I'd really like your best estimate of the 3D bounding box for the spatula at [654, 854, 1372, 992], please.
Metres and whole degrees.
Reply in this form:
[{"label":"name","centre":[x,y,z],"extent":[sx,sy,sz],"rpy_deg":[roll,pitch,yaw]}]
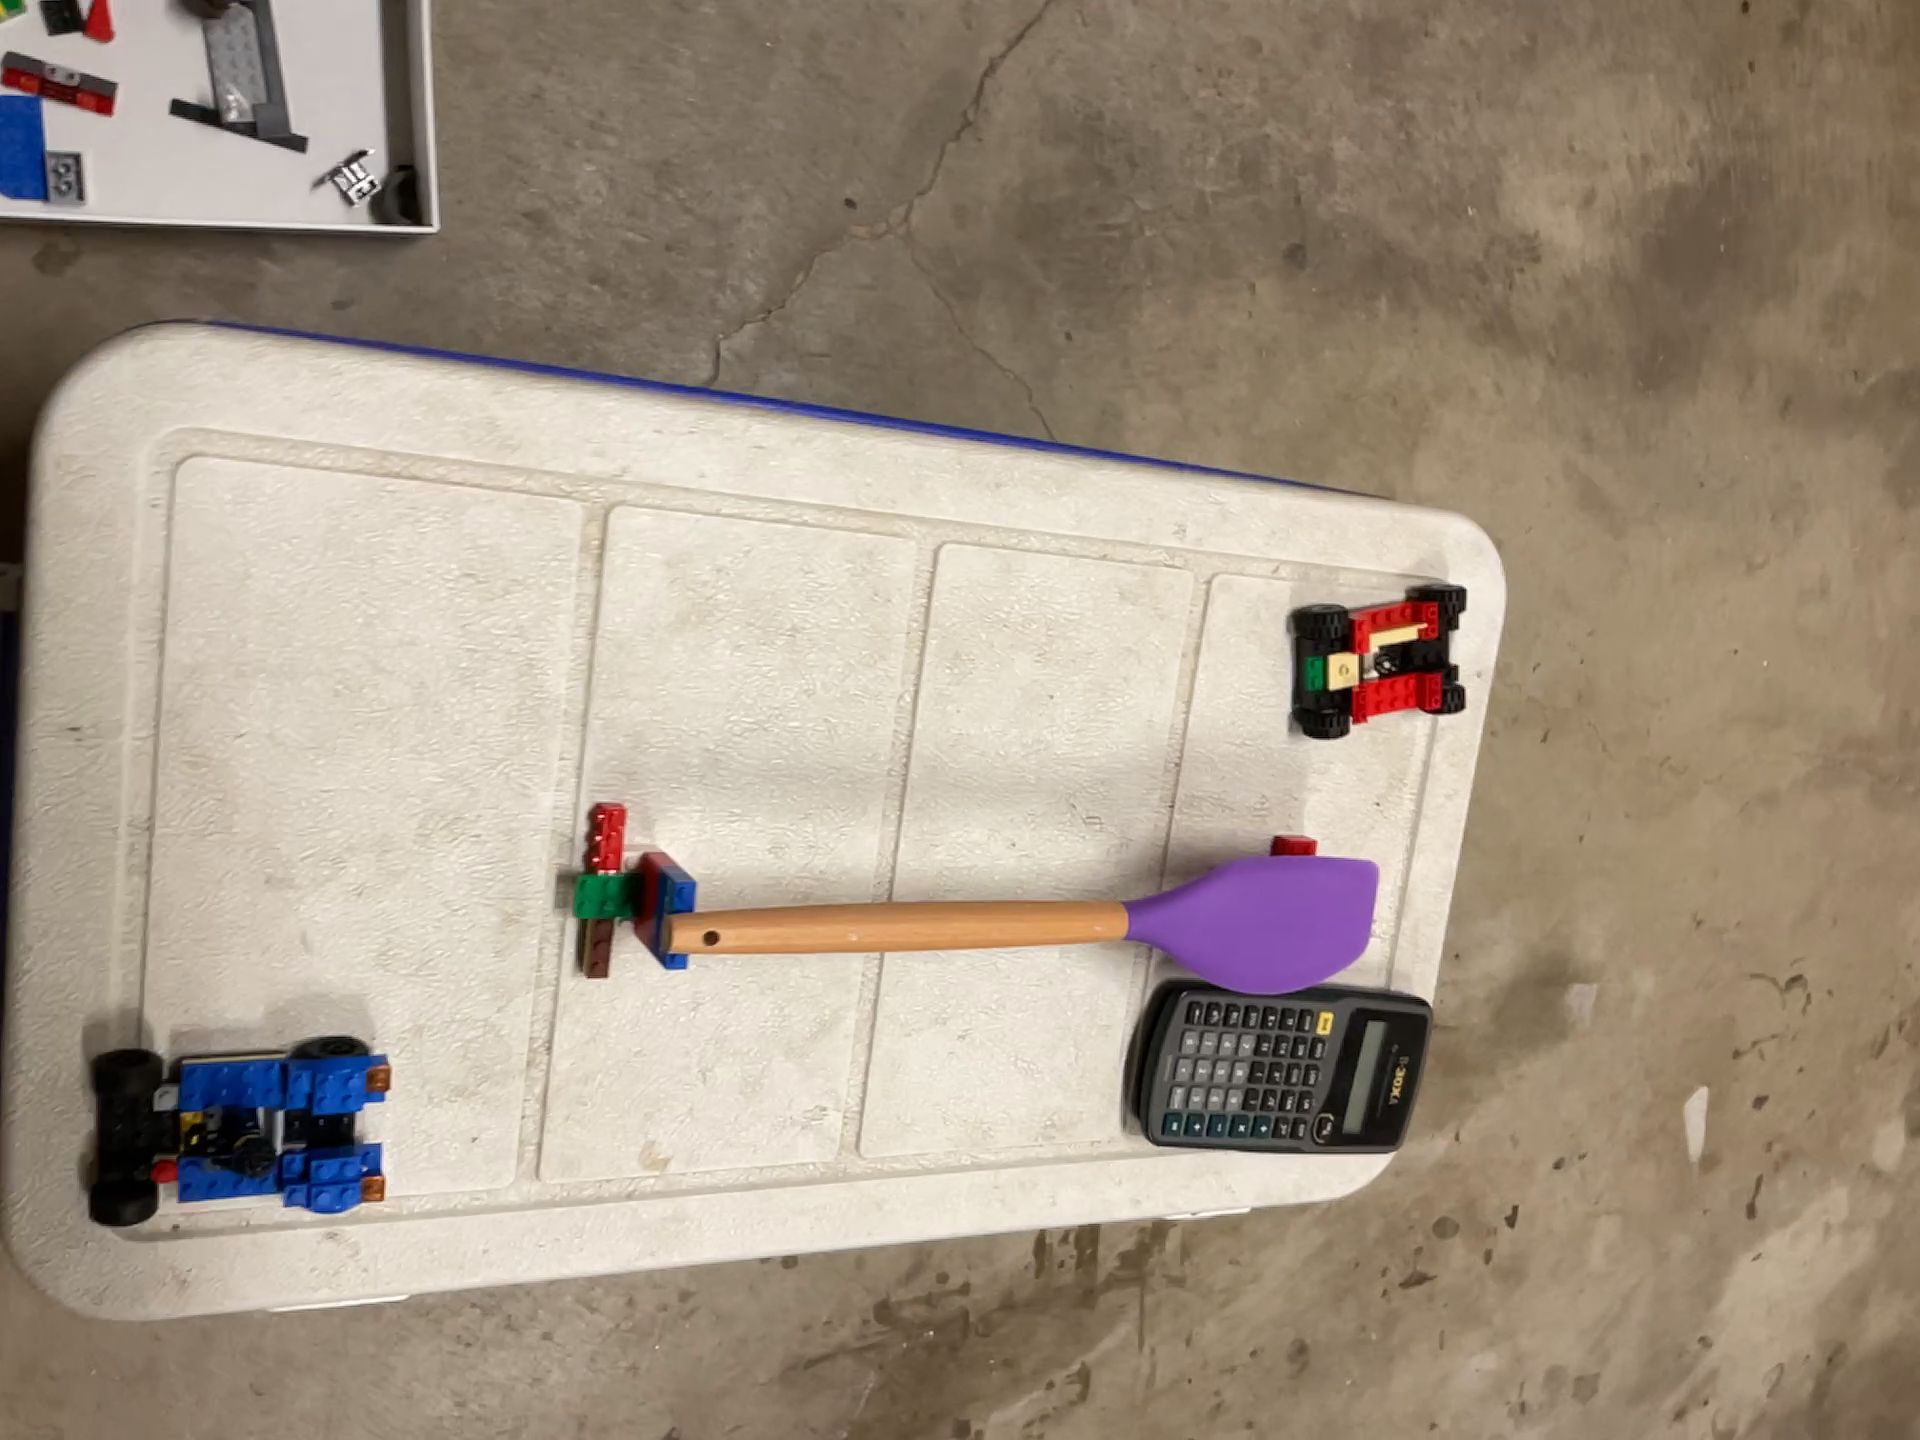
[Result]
[{"label":"spatula","centre":[0.037,0.080,0.616],"extent":[0.316,0.018,0.059],"rpy_deg":[3,99,-28]}]
